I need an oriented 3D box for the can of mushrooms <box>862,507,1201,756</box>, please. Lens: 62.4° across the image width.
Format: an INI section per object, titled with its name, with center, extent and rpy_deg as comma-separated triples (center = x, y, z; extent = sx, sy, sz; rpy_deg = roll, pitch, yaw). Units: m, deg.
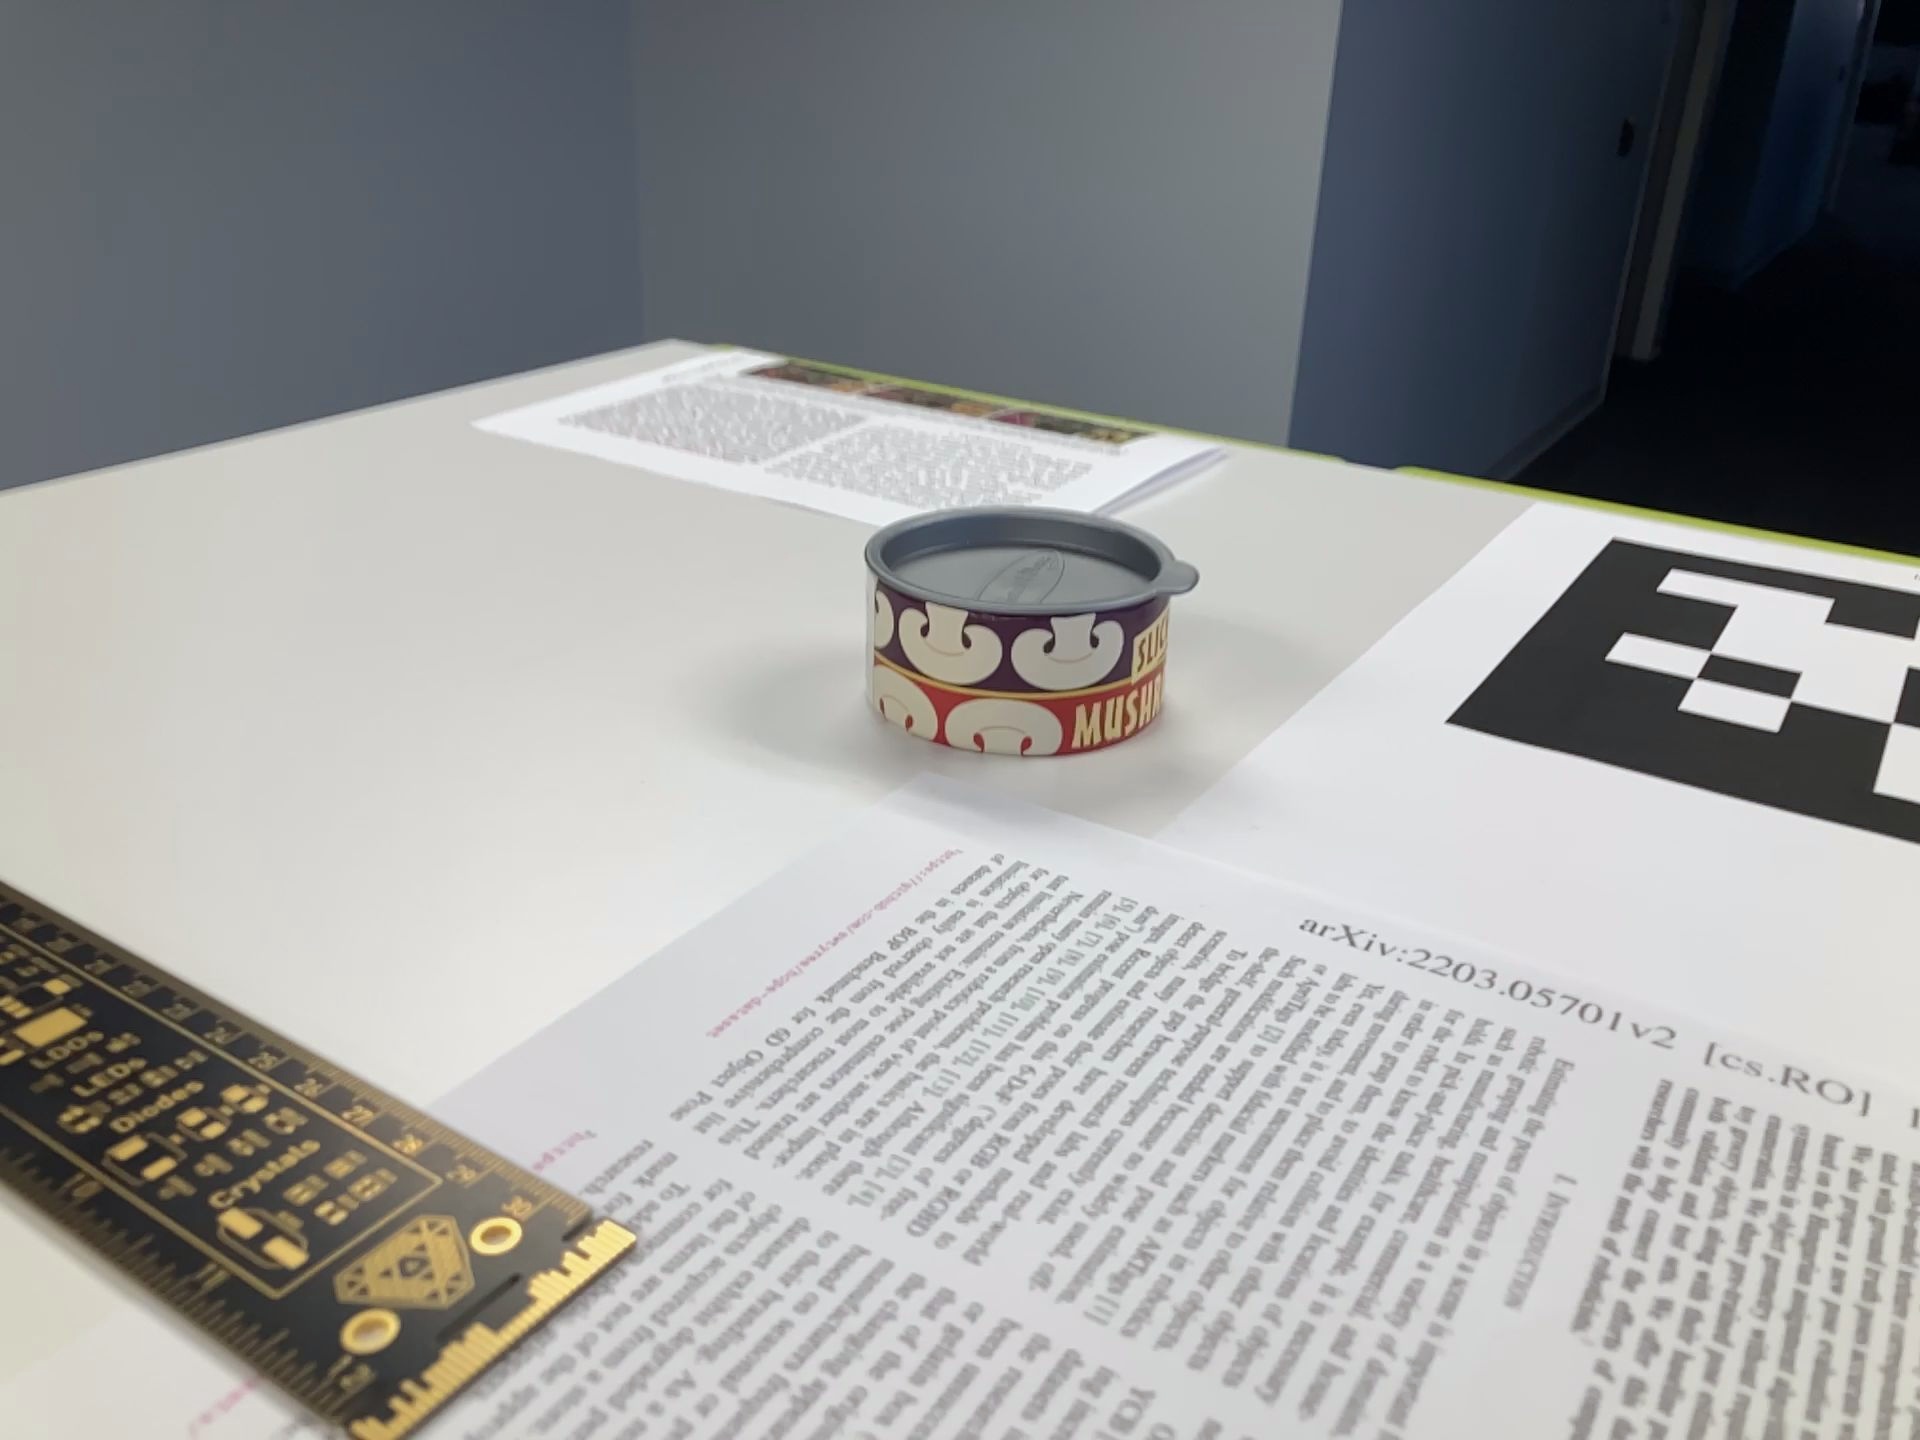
[can of mushrooms]
center = 0.014, -0.020, 0.338
extent = 0.071, 0.033, 0.071
rpy_deg = 2, 24, -1
